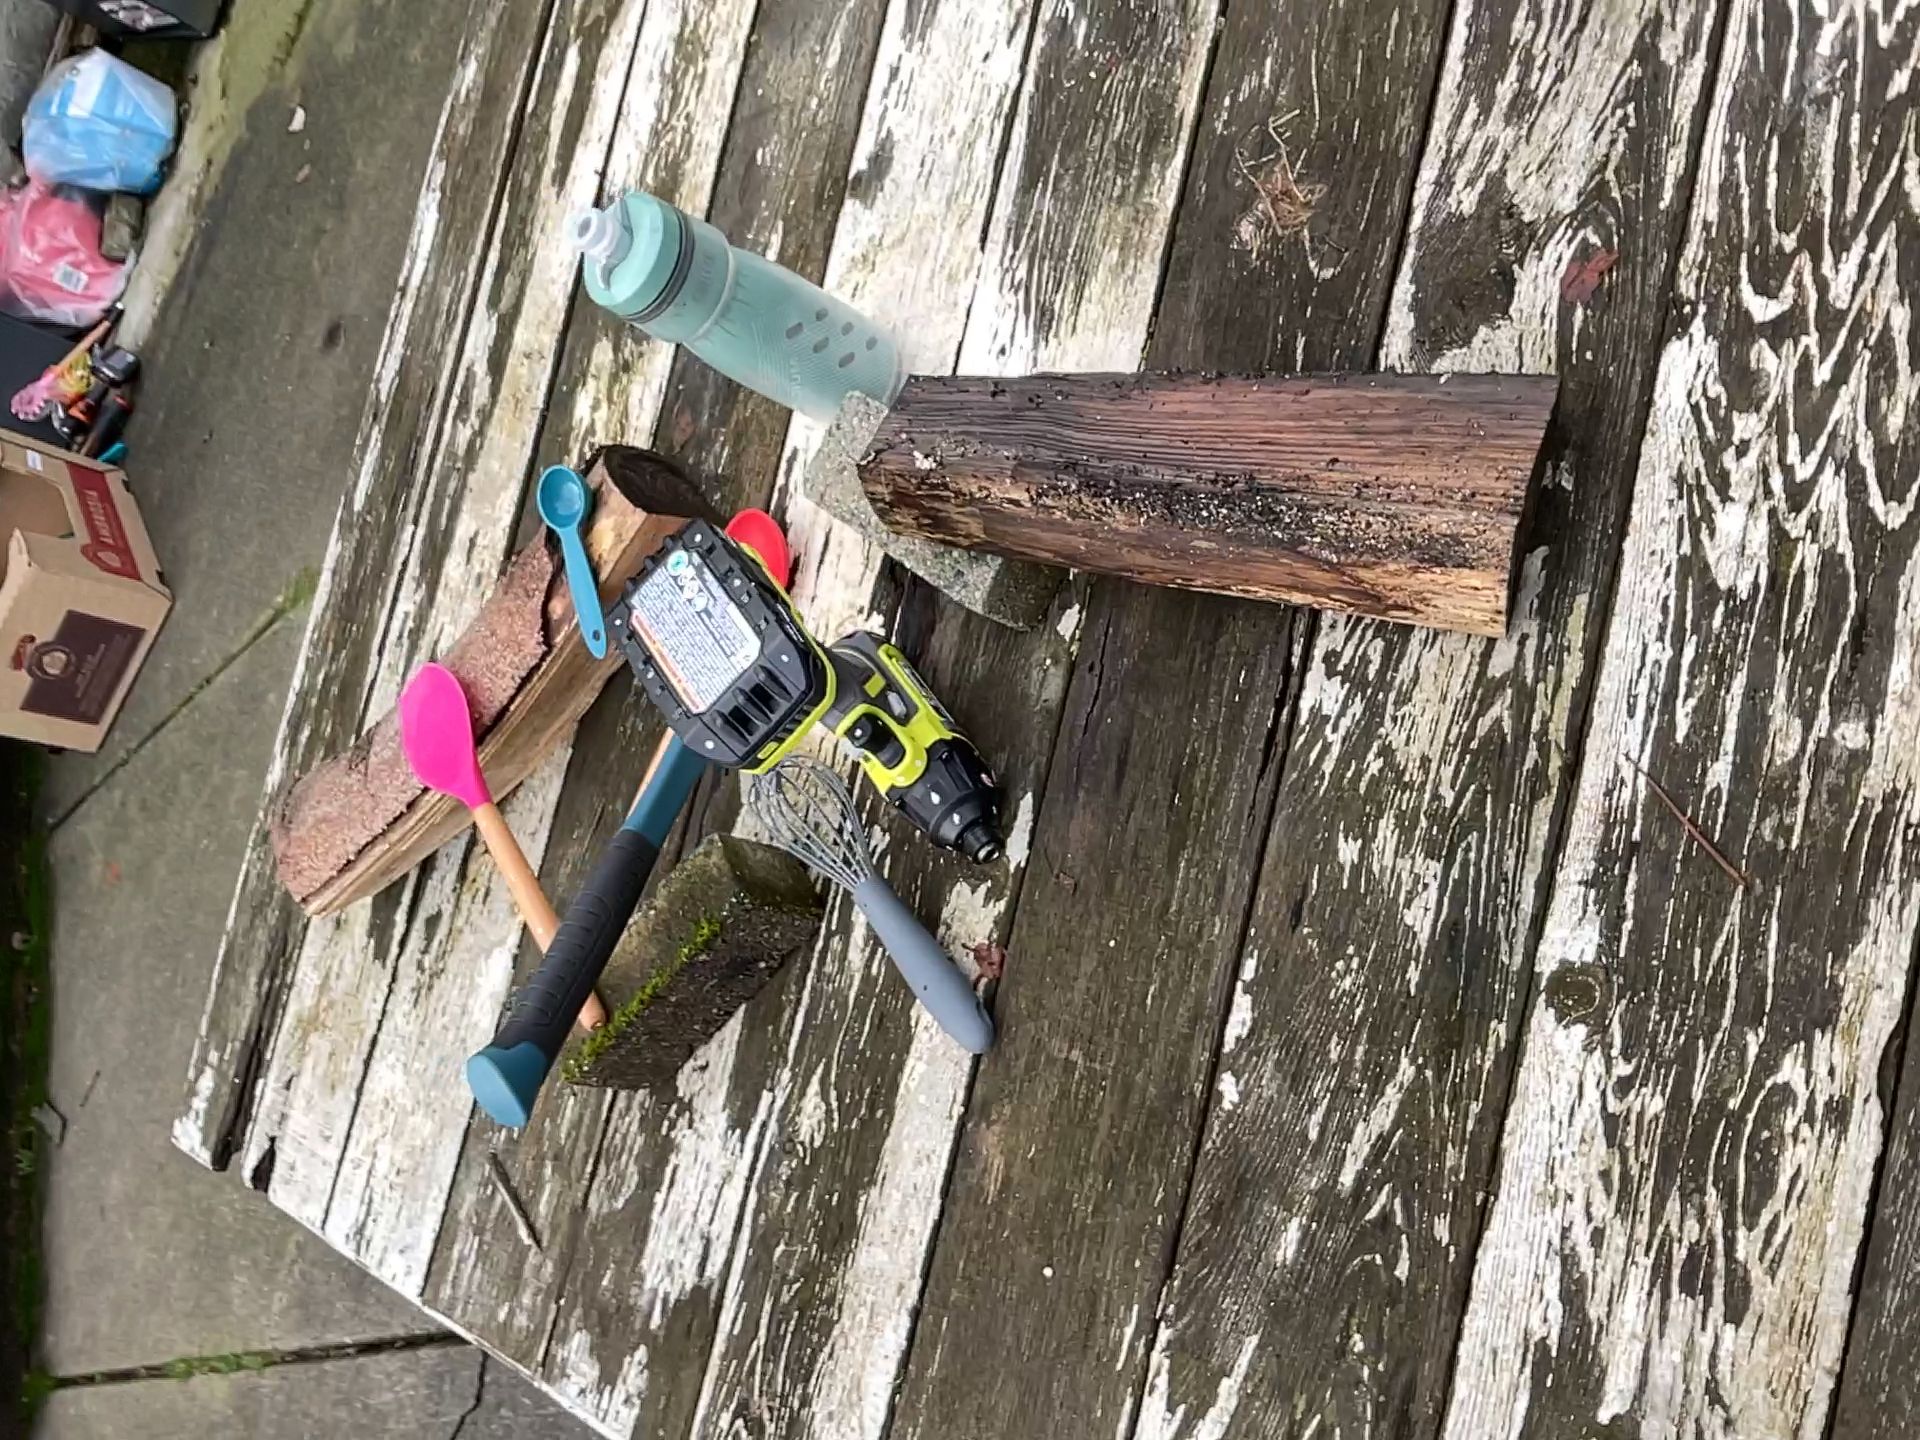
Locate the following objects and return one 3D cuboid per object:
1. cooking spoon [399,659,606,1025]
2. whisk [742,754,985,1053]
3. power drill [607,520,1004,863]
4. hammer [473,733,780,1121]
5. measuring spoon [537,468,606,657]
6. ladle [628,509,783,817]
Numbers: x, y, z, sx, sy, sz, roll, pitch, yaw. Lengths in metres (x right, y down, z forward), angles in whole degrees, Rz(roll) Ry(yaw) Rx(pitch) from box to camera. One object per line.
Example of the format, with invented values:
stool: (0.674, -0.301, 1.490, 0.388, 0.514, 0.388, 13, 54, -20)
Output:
cooking spoon: (-0.305, 0.076, 1.053, 0.069, 0.017, 0.319, -49, 57, 17)
whisk: (-0.057, 0.102, 0.927, 0.239, 0.055, 0.055, 49, 117, 34)
power drill: (-0.069, -0.006, 0.860, 0.080, 0.222, 0.171, -46, 55, 11)
hammer: (-0.195, 0.083, 0.936, 0.033, 0.128, 0.331, -20, 34, 36)
measuring spoon: (-0.250, -0.106, 1.064, 0.042, 0.021, 0.128, -14, 91, 36)
ladle: (-0.191, 0.006, 1.085, 0.069, 0.031, 0.315, 31, 100, 38)
